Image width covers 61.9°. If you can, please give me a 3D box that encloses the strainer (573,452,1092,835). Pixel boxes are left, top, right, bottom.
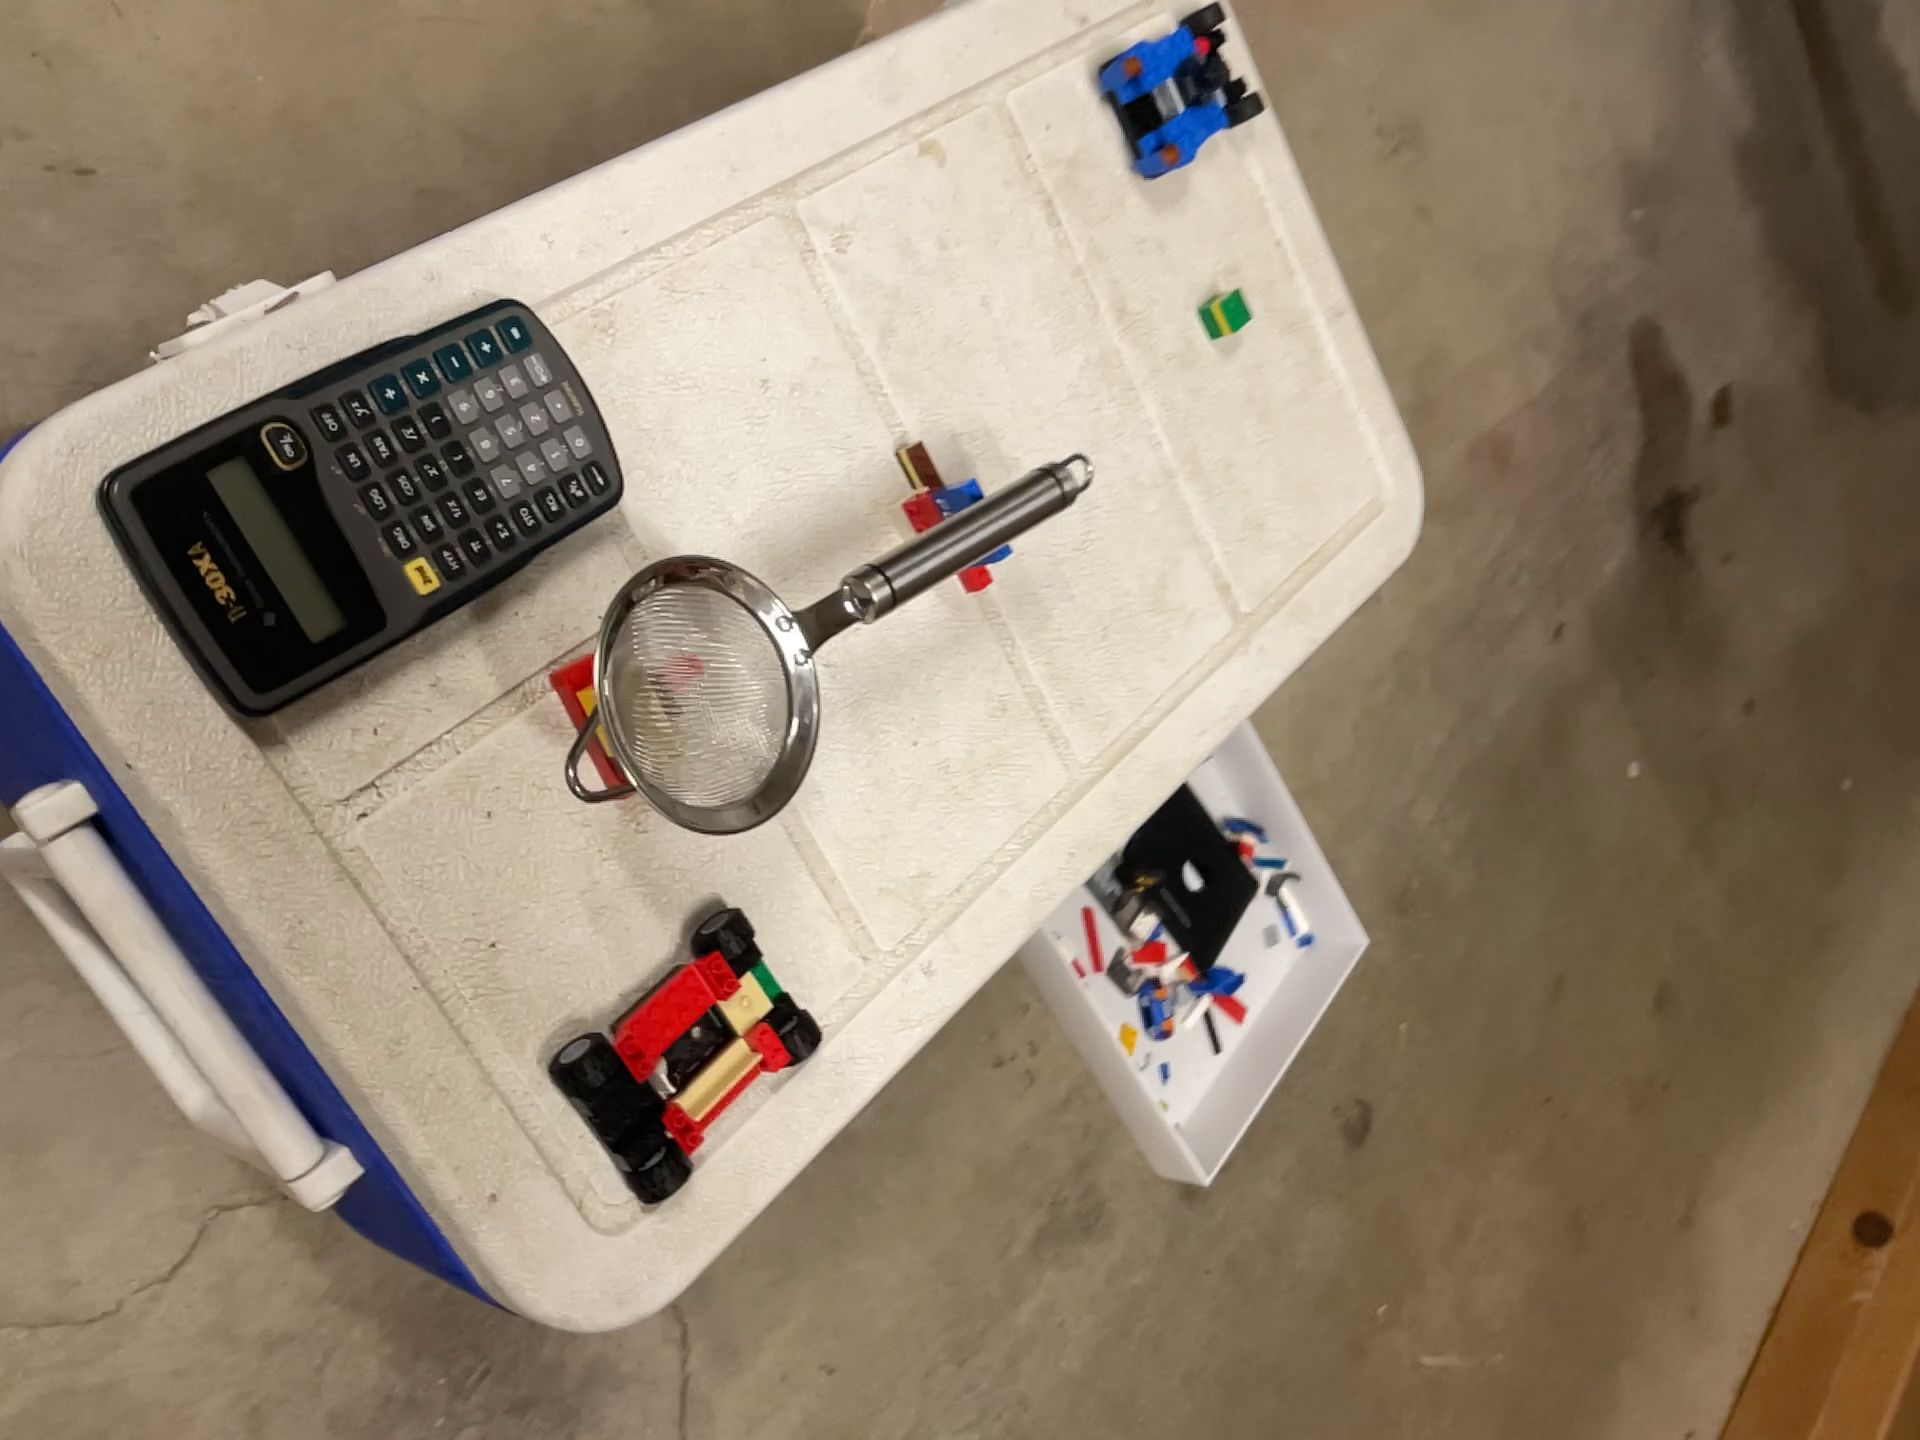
[{"bbox_3d":[-0.036,-0.038,0.543,0.259,0.050,0.086,-35,109,-36],"label":"strainer"}]
